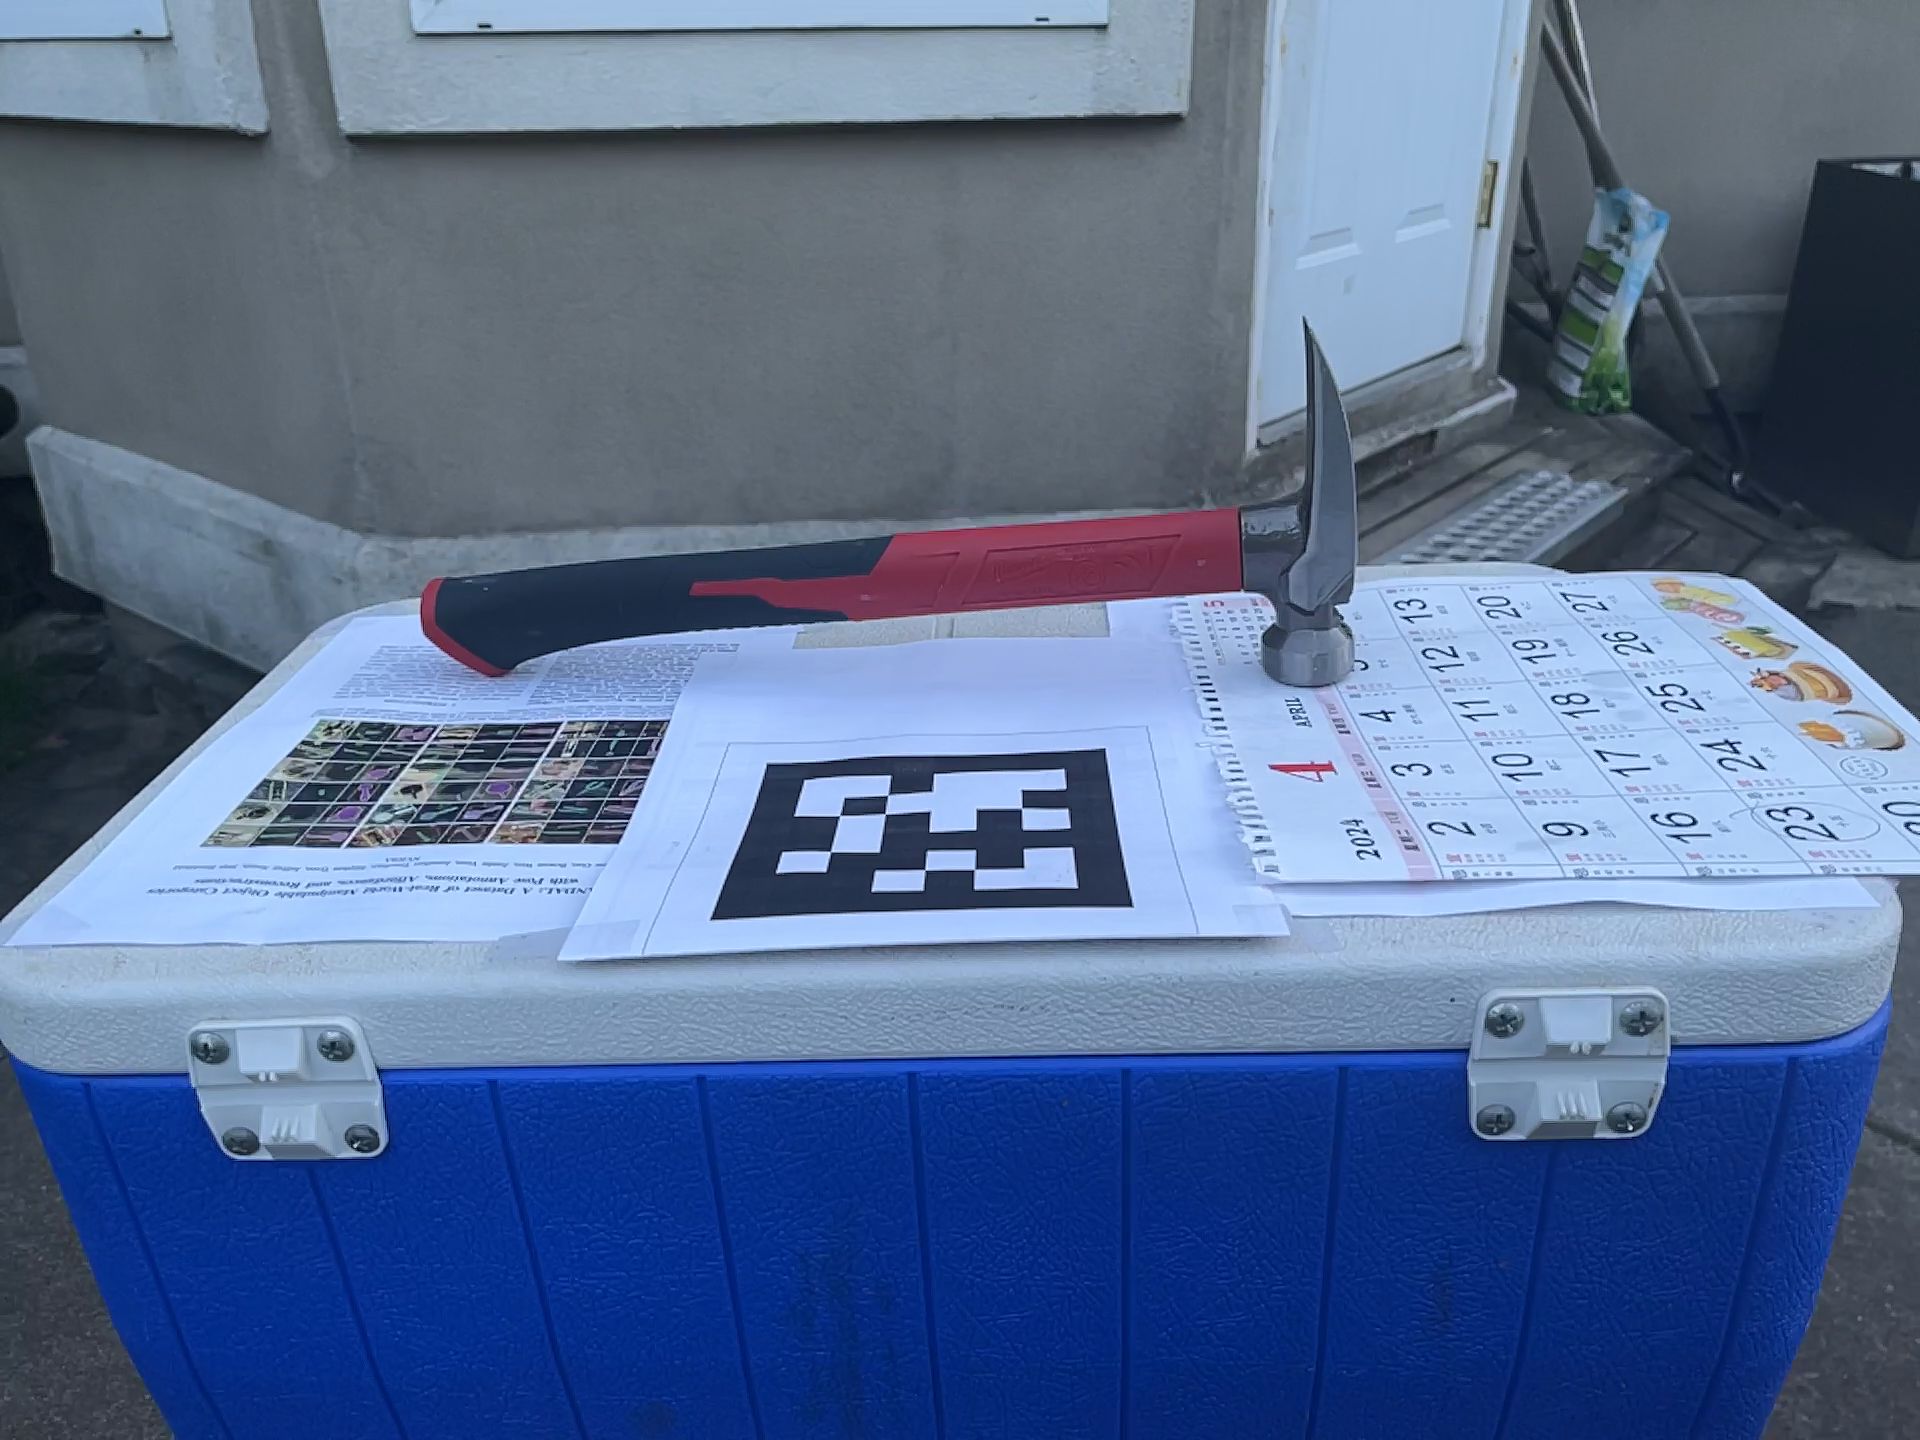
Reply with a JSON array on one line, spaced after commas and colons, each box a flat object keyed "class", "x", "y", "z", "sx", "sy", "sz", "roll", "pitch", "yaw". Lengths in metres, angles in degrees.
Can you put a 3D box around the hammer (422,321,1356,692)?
[{"class": "hammer", "x": -0.038, "y": -0.071, "z": 0.633, "sx": 0.386, "sy": 0.143, "sz": 0.038, "roll": -4, "pitch": 25, "yaw": 8}]
